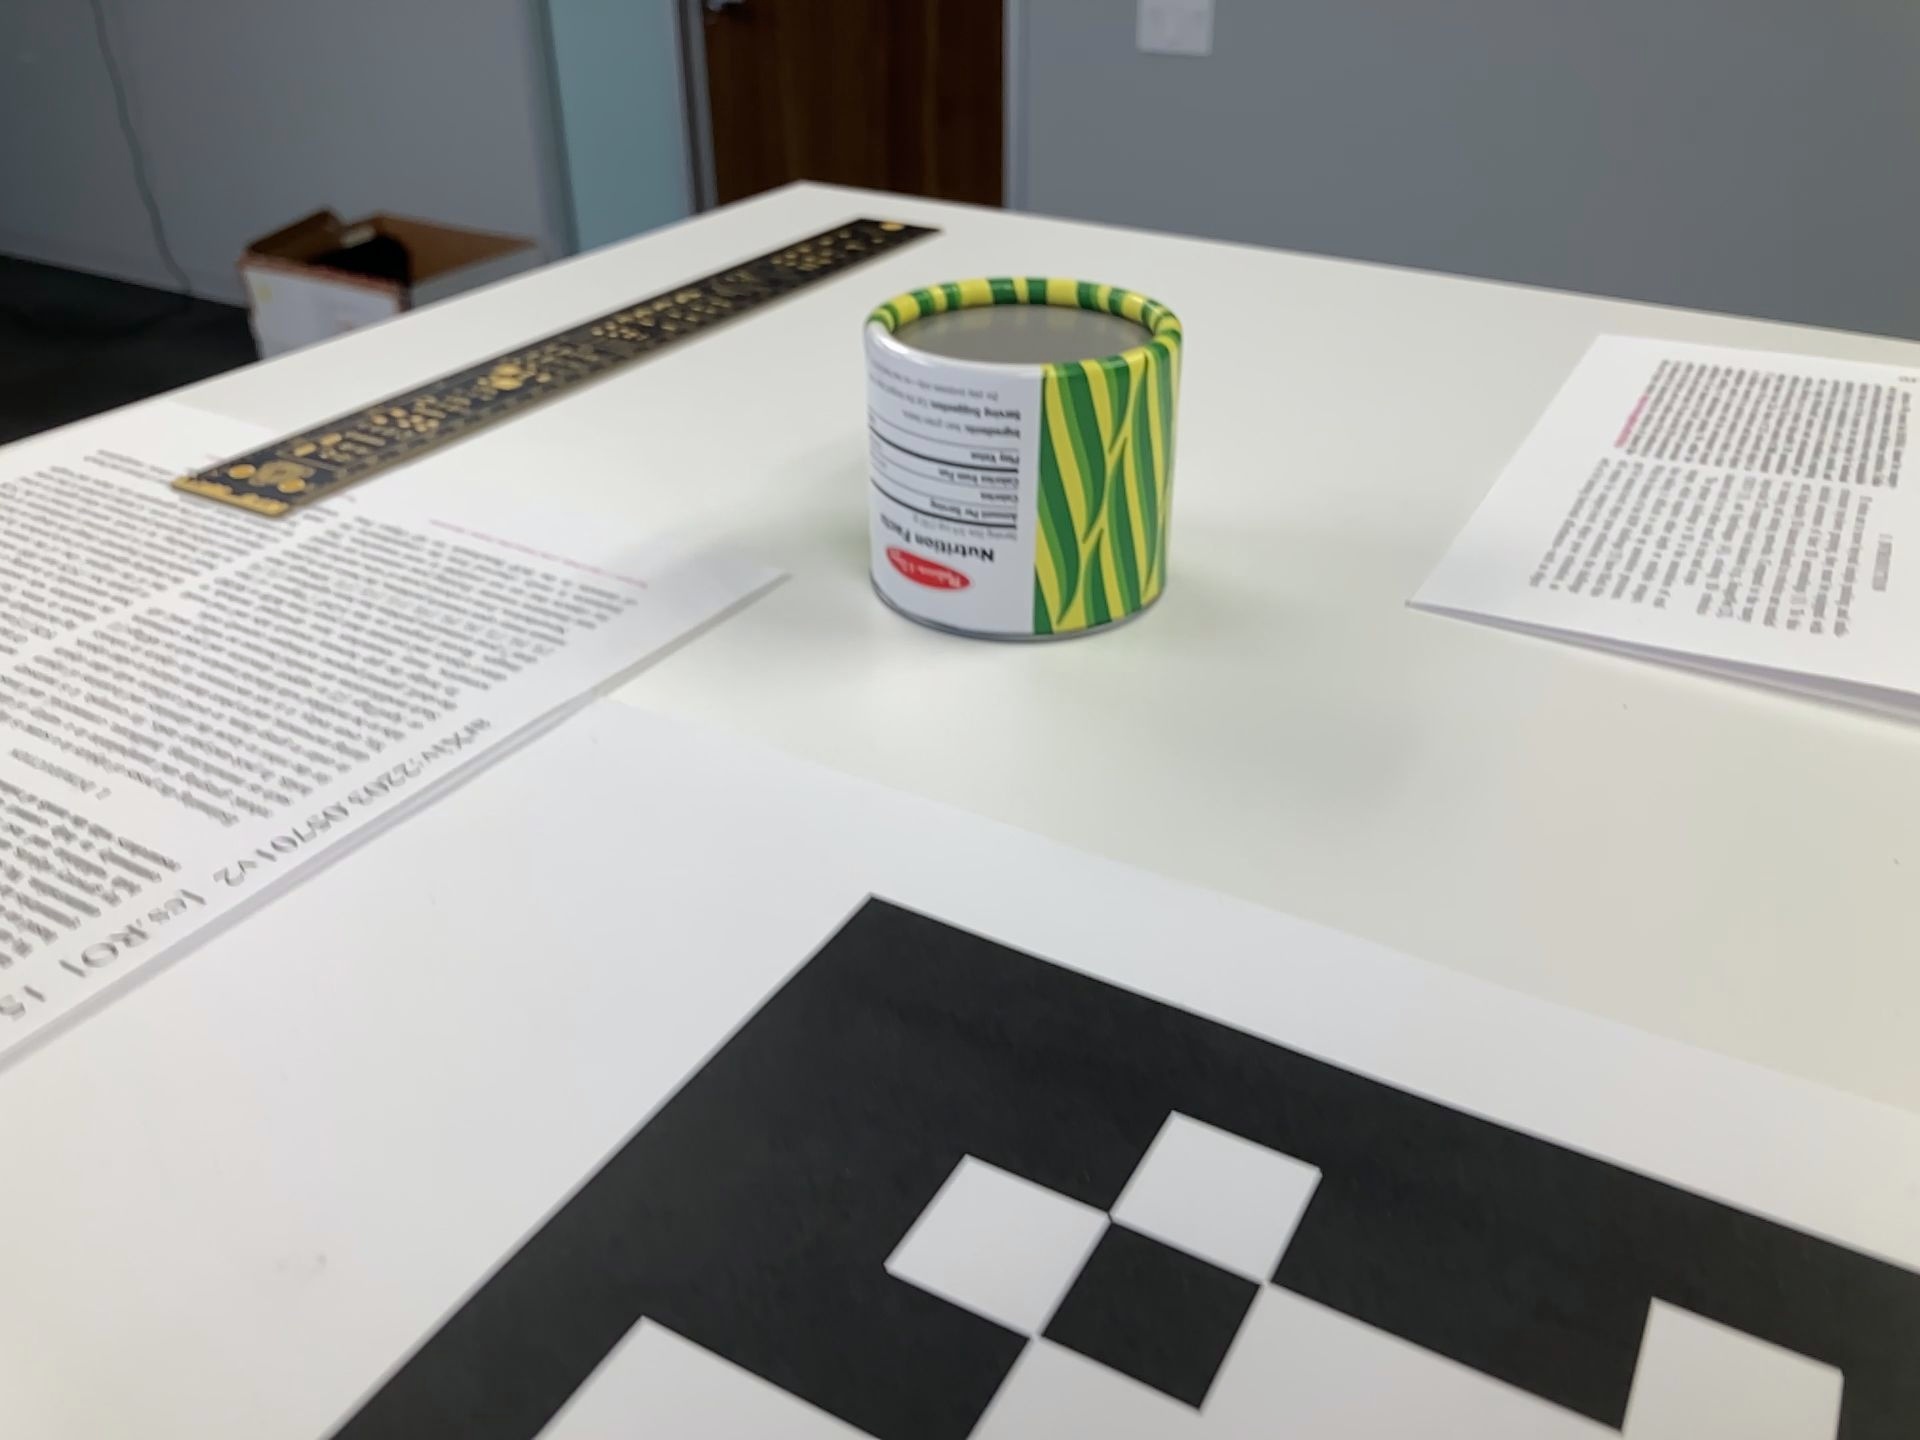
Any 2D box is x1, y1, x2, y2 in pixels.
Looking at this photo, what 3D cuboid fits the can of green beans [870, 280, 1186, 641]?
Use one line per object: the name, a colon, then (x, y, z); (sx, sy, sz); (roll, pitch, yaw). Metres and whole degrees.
can of green beans: (0.014, -0.058, 0.345); (0.071, 0.058, 0.071); (0, 30, 0)
